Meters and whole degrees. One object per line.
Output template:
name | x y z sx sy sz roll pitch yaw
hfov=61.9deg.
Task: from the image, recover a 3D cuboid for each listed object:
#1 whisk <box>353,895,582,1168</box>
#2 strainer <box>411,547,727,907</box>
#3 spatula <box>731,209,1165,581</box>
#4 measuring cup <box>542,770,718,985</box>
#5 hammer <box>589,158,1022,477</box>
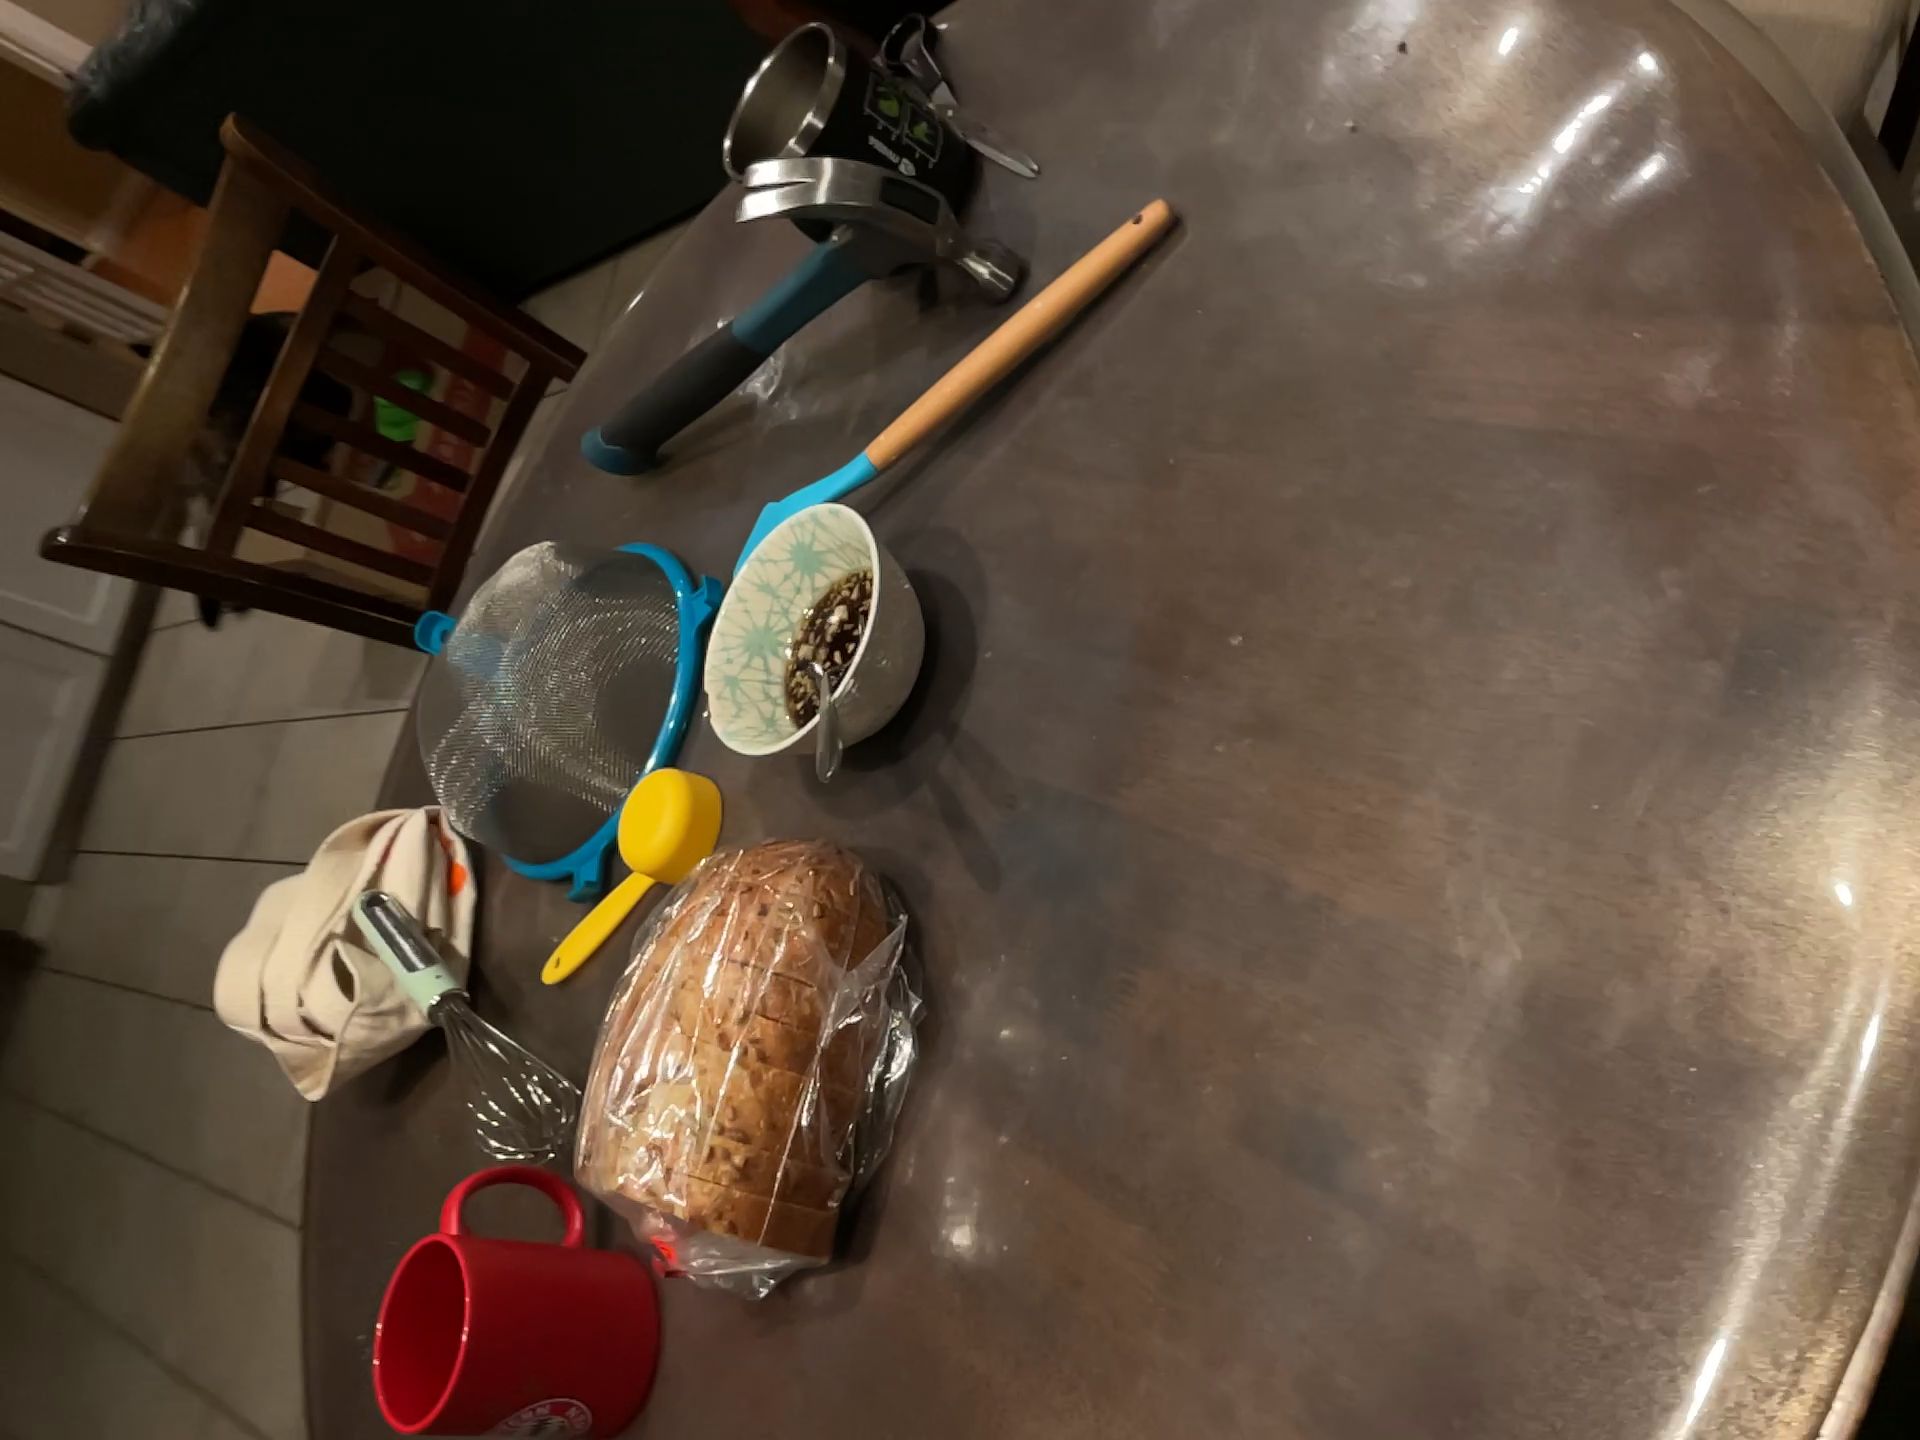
whisk | -0.279 0.162 0.880 0.246 0.058 0.059 34 127 41
strainer | -0.288 -0.033 0.975 0.340 0.095 0.211 21 86 46
spatula | -0.020 -0.138 0.795 0.317 0.044 0.082 -36 47 24
measuring cup | -0.187 0.087 0.853 0.156 0.029 0.062 -46 43 19
hammer | -0.117 -0.206 0.884 0.331 0.128 0.033 -22 53 50
